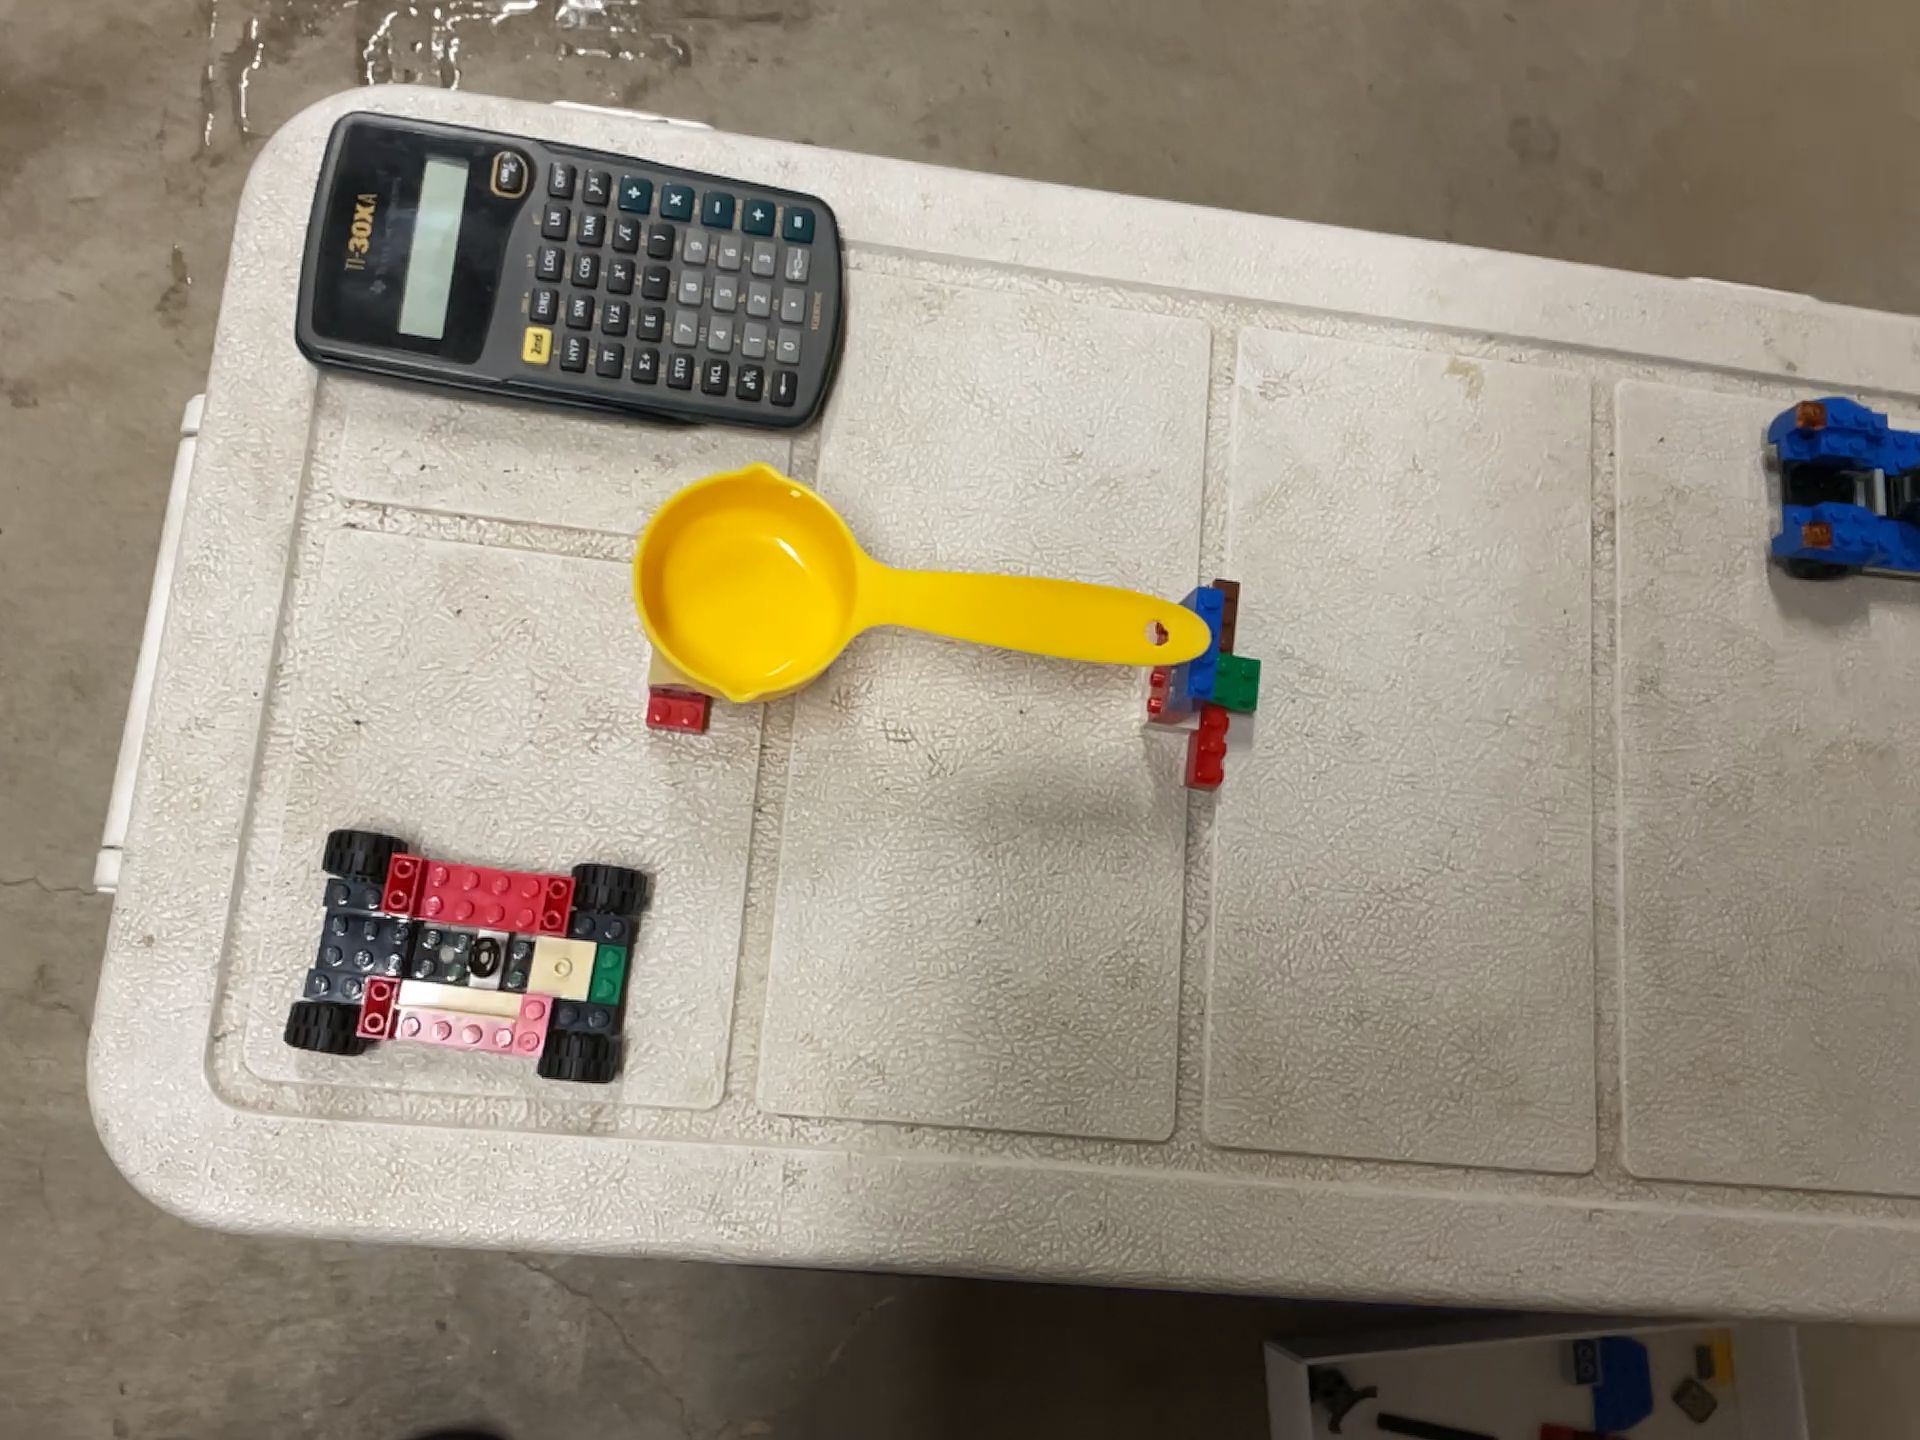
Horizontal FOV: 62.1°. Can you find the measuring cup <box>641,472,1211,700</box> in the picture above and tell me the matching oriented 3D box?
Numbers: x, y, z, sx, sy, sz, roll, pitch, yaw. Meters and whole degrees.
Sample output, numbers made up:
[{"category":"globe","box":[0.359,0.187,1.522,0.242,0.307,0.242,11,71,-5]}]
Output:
[{"category":"measuring cup","box":[-0.009,-0.028,0.439,0.156,0.029,0.062,7,78,-12]}]
